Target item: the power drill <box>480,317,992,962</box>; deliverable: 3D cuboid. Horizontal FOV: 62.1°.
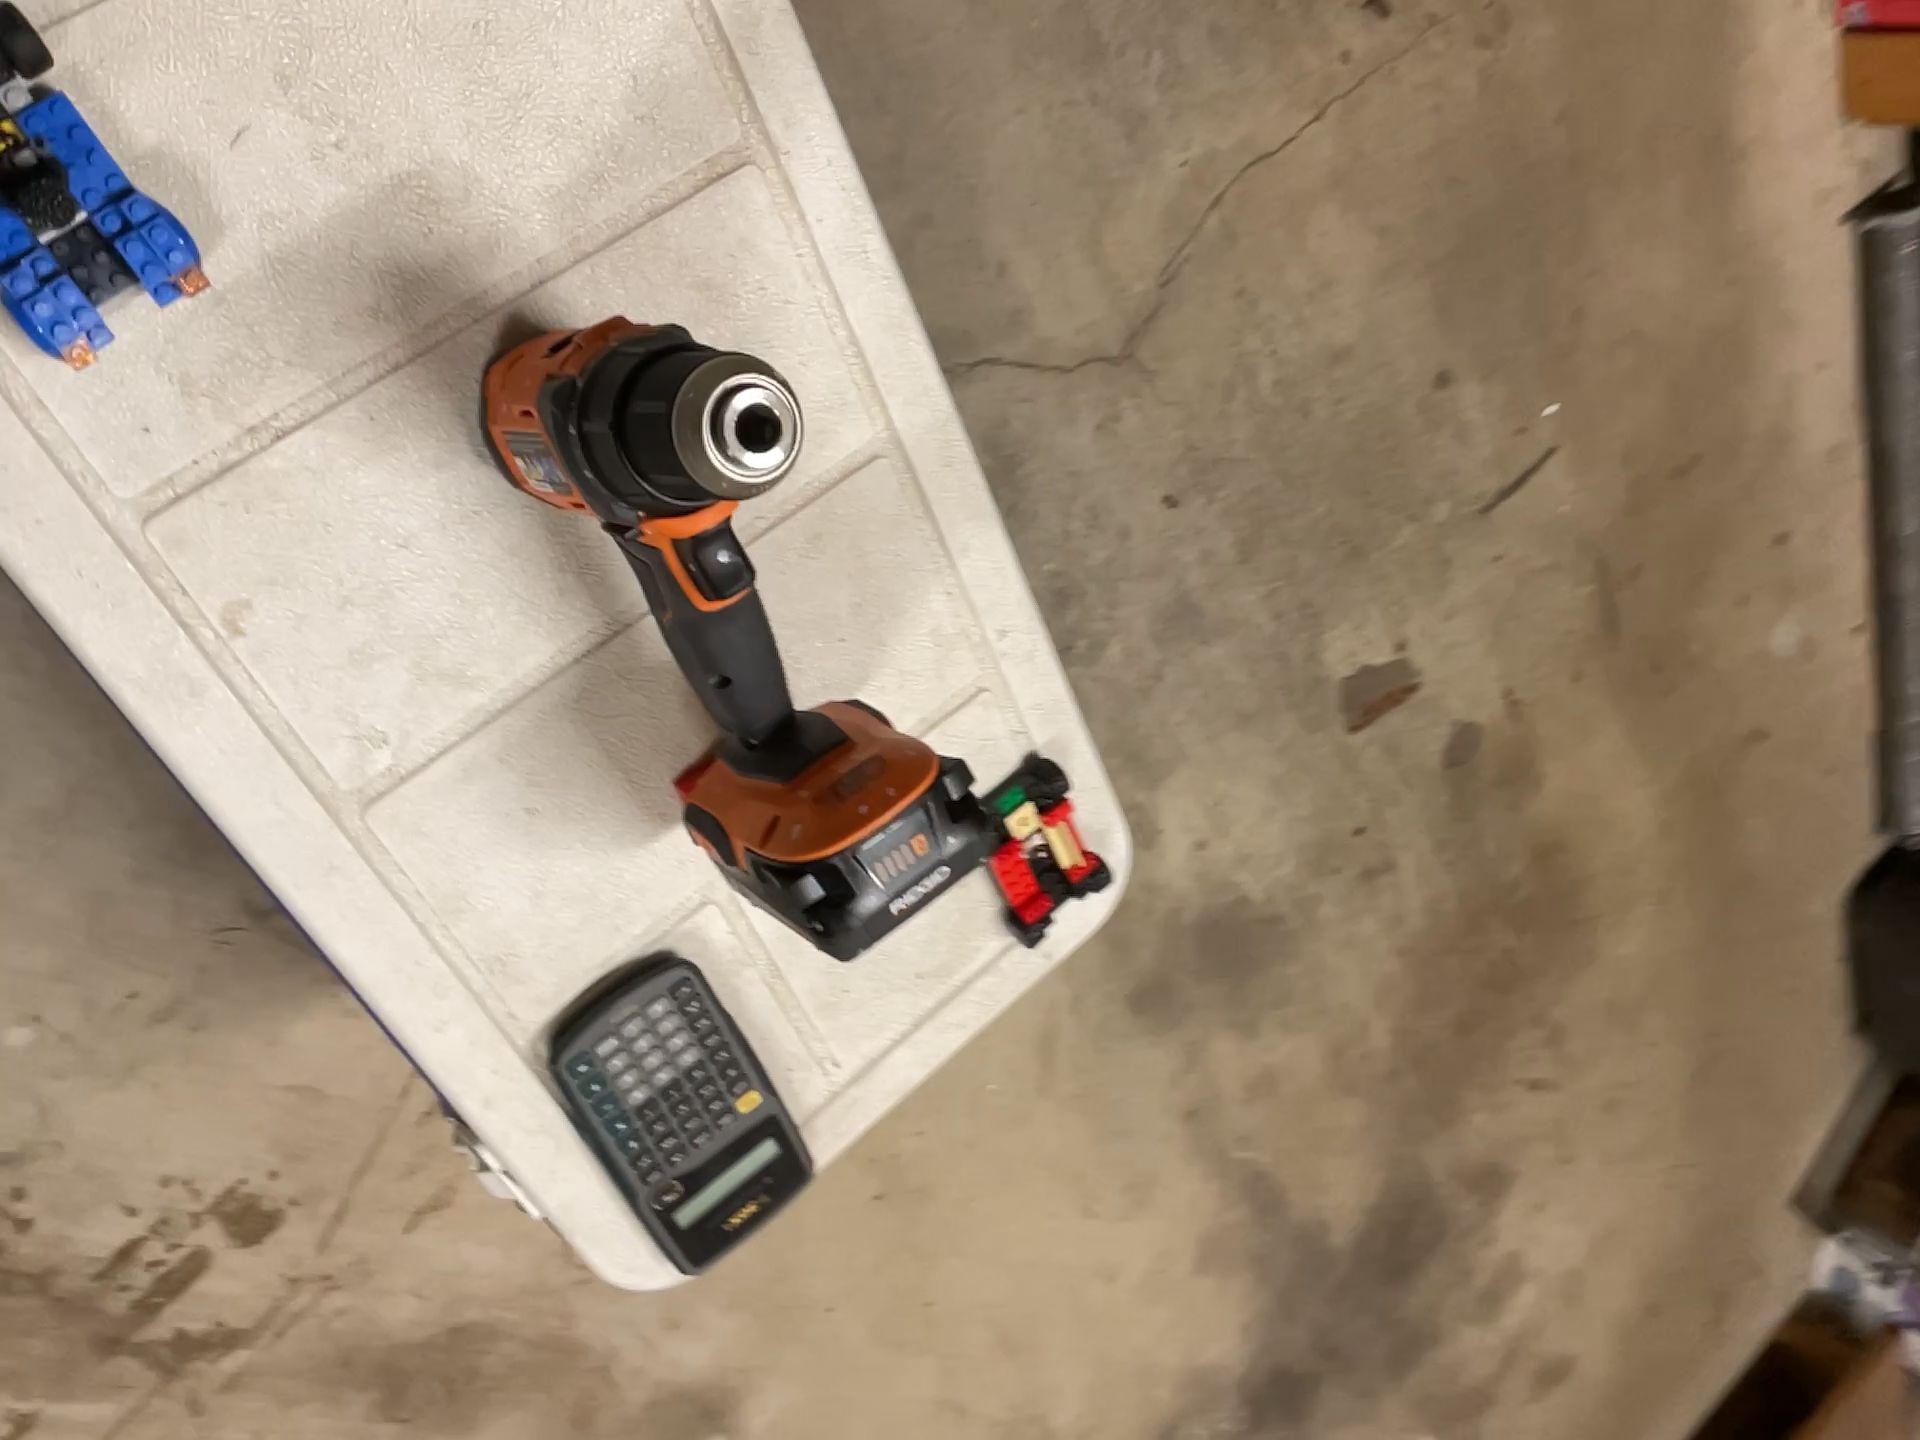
[{"bbox_3d":[-0.071,-0.030,0.545,0.084,0.185,0.226,-35,115,-22],"label":"power drill"}]
